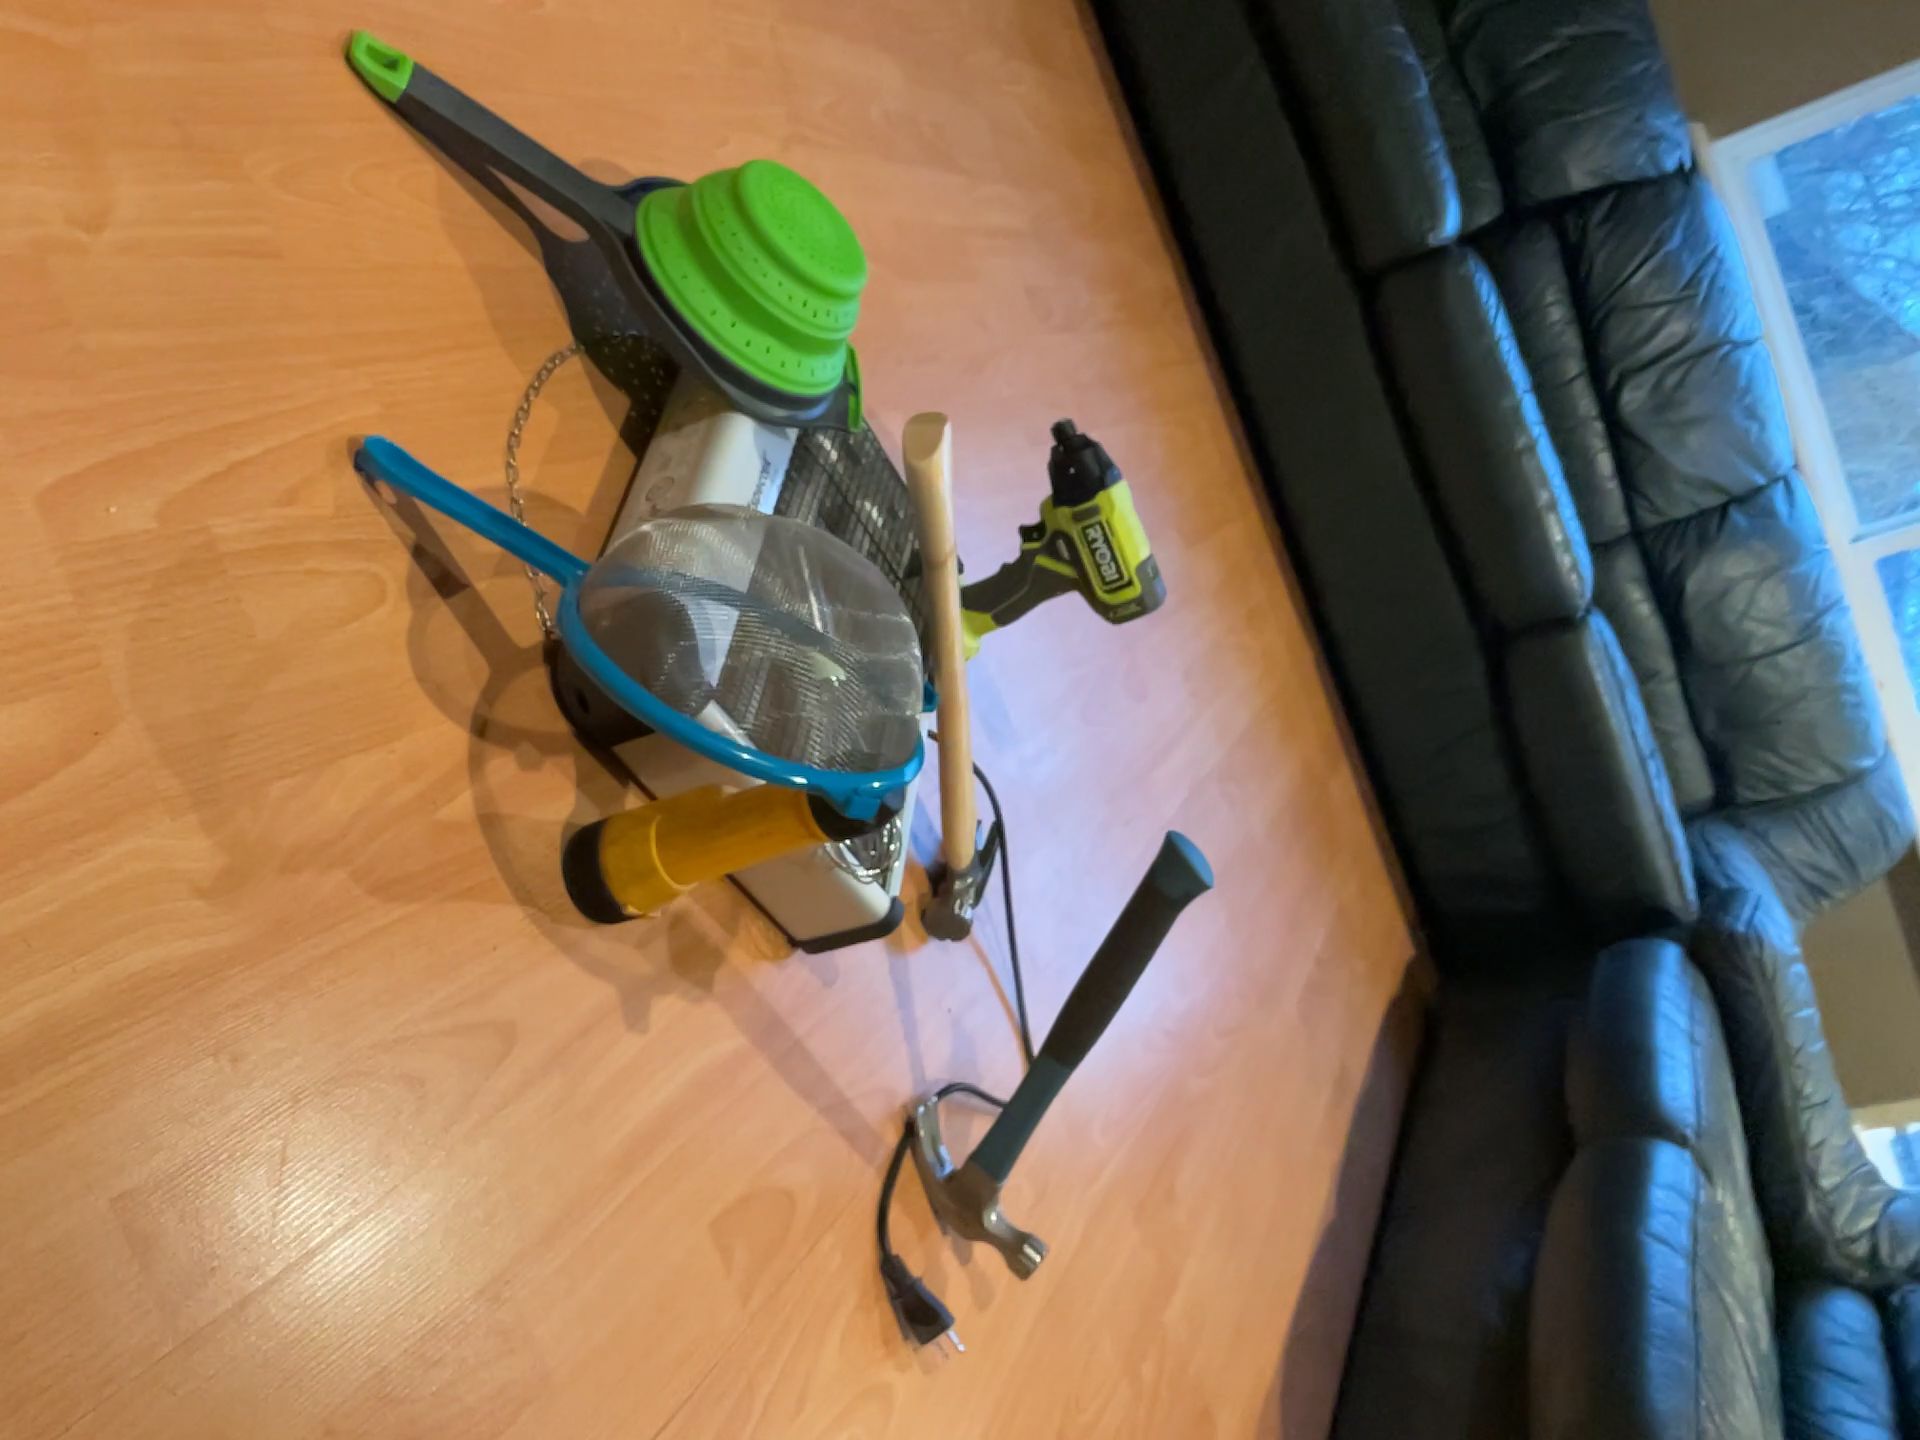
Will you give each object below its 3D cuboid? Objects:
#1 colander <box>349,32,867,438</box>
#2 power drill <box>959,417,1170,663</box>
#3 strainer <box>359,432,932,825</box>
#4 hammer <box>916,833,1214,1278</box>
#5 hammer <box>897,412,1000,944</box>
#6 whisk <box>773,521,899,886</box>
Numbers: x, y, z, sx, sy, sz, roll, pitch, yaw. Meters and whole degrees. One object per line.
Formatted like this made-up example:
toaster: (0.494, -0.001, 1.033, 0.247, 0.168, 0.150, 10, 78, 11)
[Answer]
colander: (-0.191, -0.336, 1.039, 0.397, 0.094, 0.205, 29, 39, -33)
power drill: (0.043, -0.140, 1.338, 0.171, 0.223, 0.080, 67, 25, -10)
strainer: (-0.152, -0.087, 0.846, 0.340, 0.095, 0.211, 31, 20, -2)
hammer: (0.076, 0.221, 1.093, 0.128, 0.330, 0.033, 35, 19, 16)
hammer: (-0.007, -0.035, 1.203, 0.146, 0.038, 0.410, -65, 155, -55)
whisk: (-0.083, -0.014, 1.015, 0.058, 0.059, 0.246, -3, 71, -34)
